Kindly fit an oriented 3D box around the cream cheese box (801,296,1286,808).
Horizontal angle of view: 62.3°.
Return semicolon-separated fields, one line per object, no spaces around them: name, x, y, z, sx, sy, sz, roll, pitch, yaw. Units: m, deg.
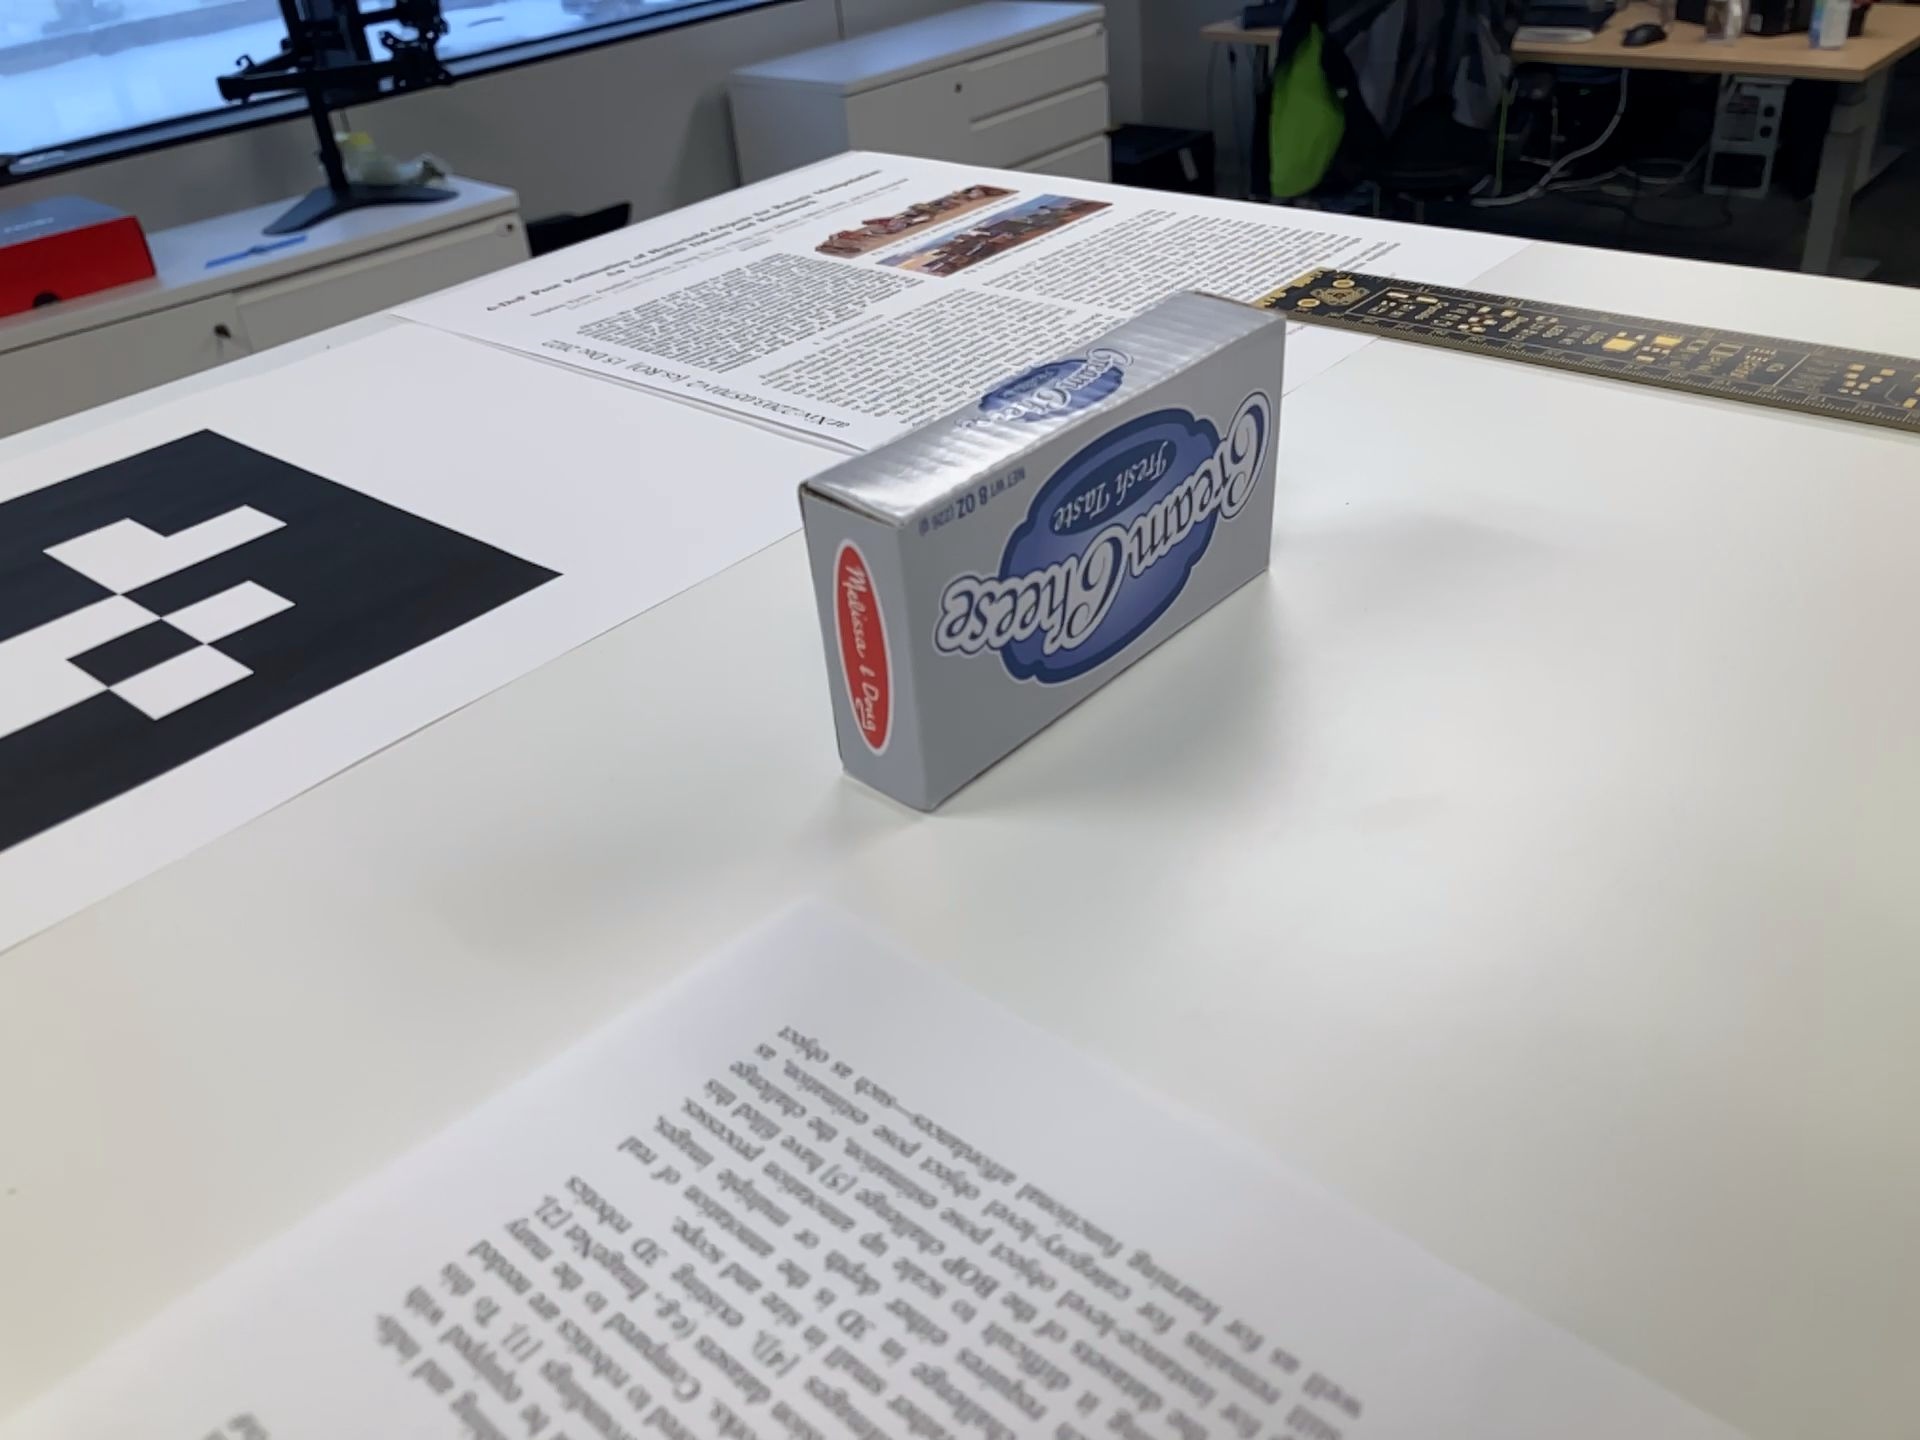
cream cheese box;0.019;-0.033;0.277;0.024;0.053;0.104;24;42;35
